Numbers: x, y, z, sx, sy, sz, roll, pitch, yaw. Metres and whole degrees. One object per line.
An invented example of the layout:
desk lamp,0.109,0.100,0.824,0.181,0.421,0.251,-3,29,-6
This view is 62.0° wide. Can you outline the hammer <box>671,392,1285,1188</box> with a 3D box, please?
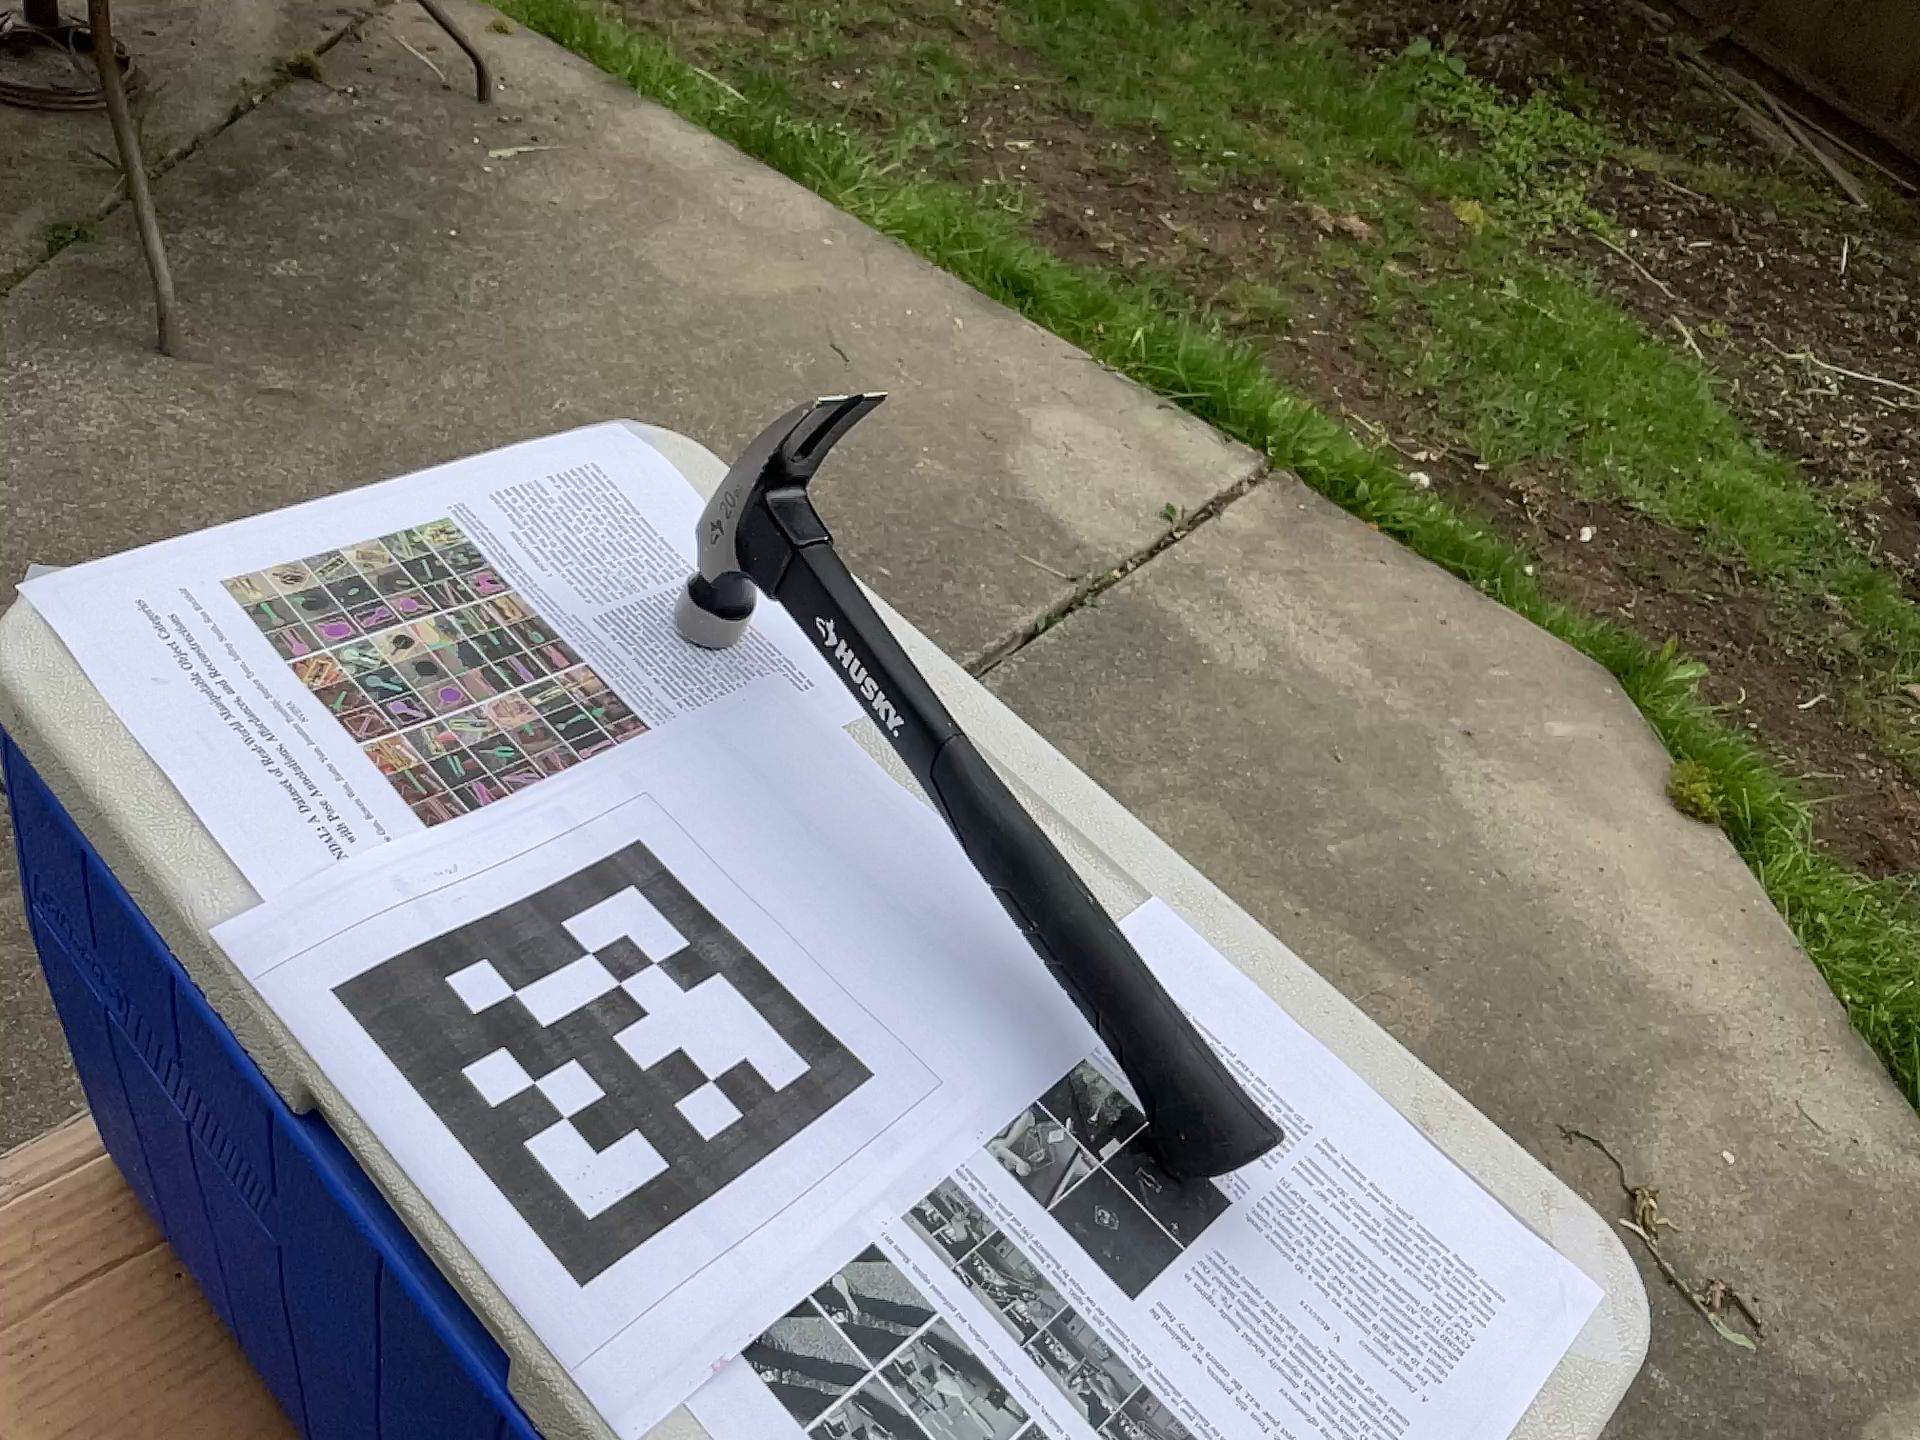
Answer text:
hammer,0.005,0.025,0.593,0.035,0.146,0.335,-17,61,-42
